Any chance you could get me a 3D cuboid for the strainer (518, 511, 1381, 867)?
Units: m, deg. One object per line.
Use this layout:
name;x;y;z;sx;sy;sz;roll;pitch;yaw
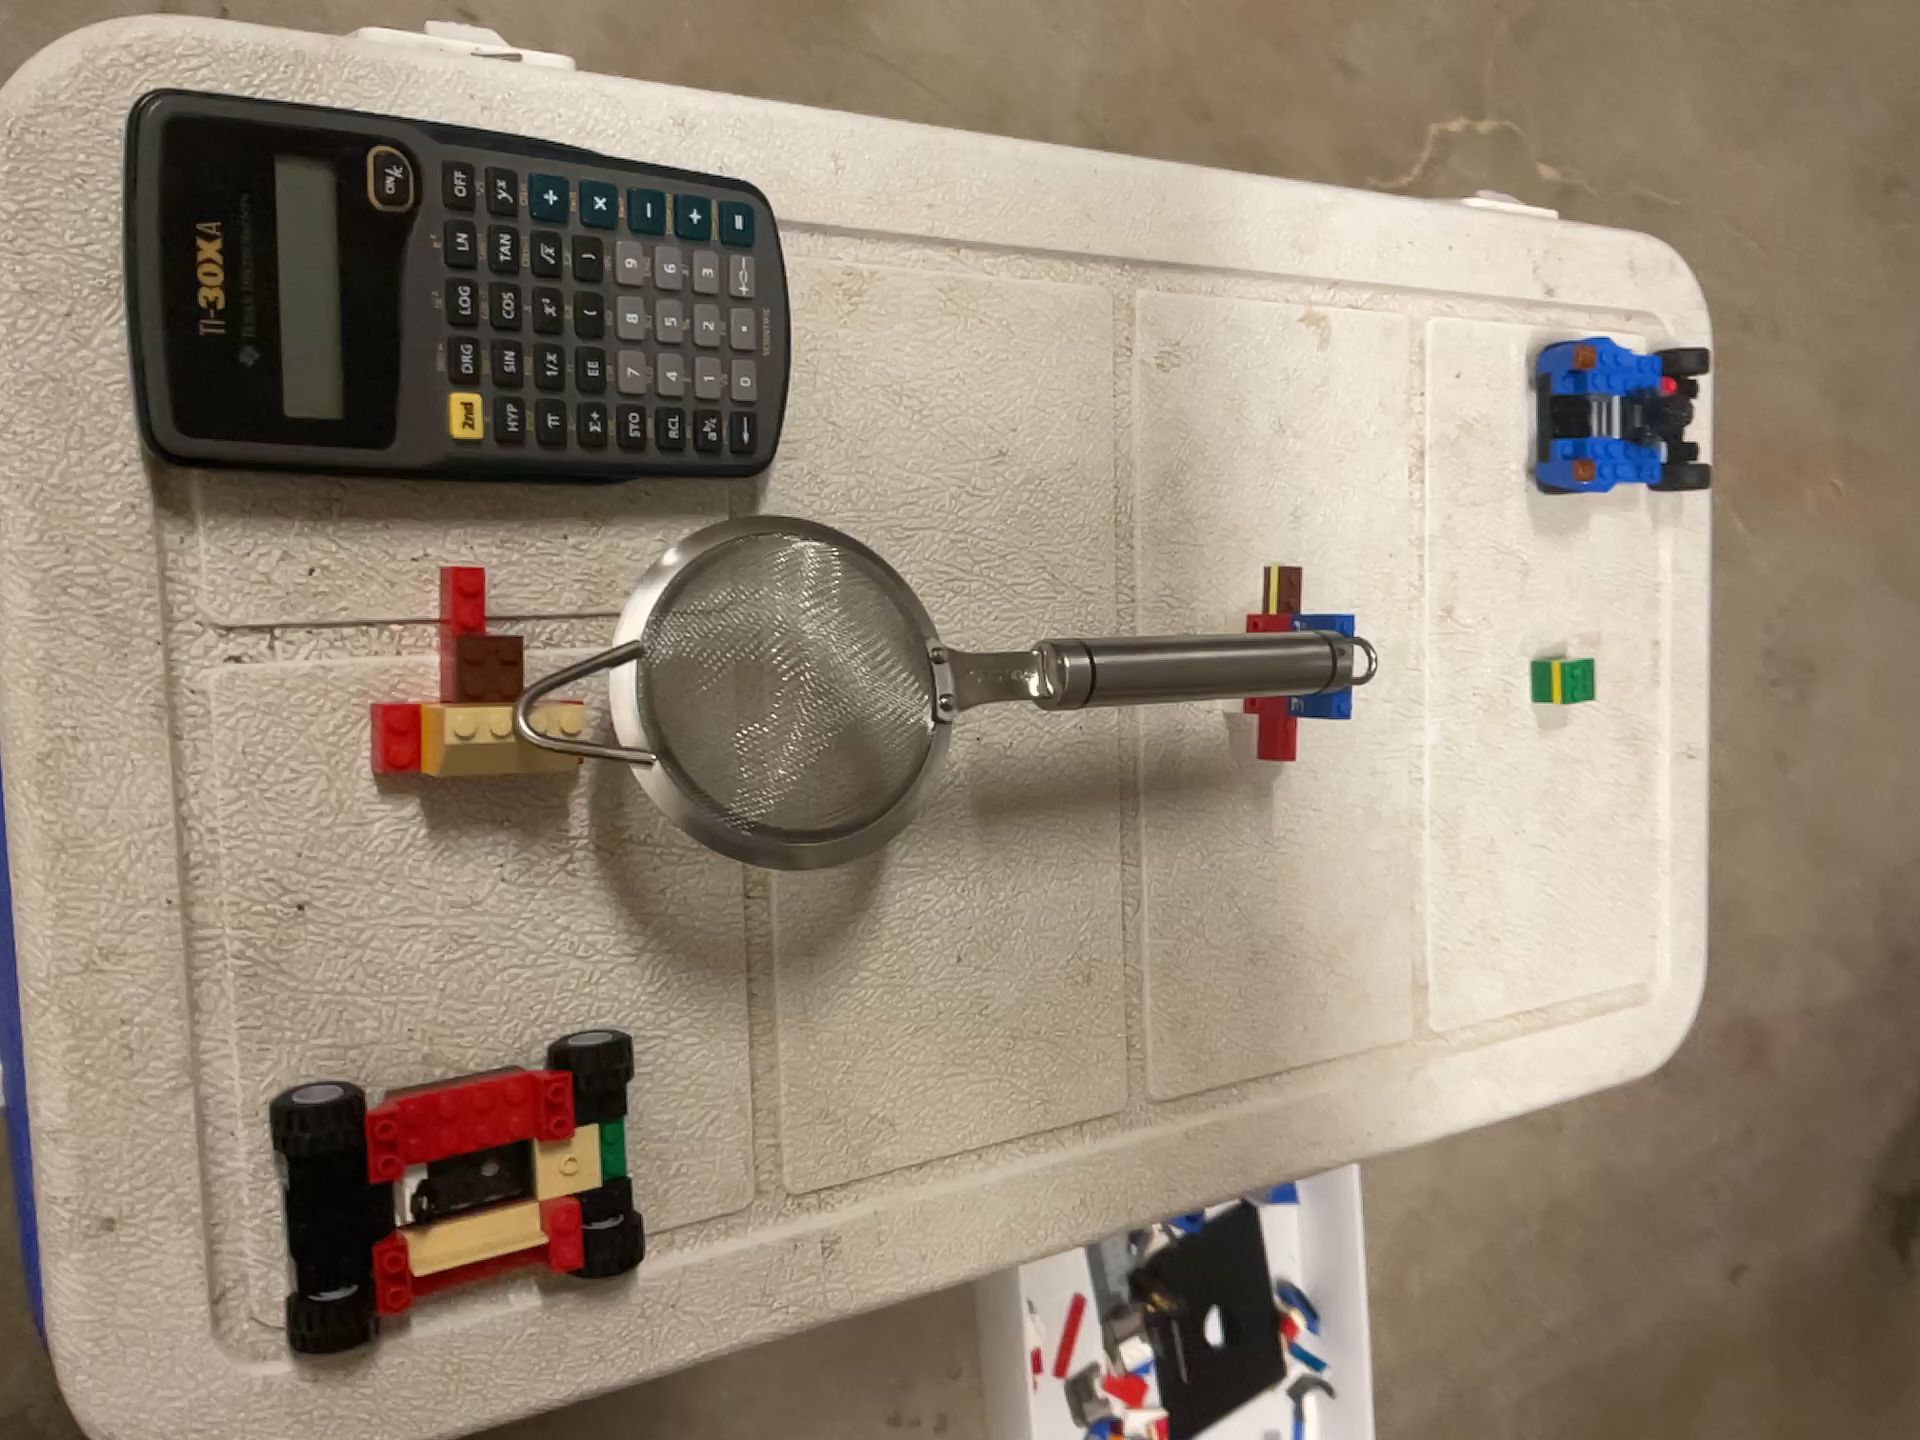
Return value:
strainer;0.021;-0.014;0.410;0.258;0.050;0.087;-4;79;-35
